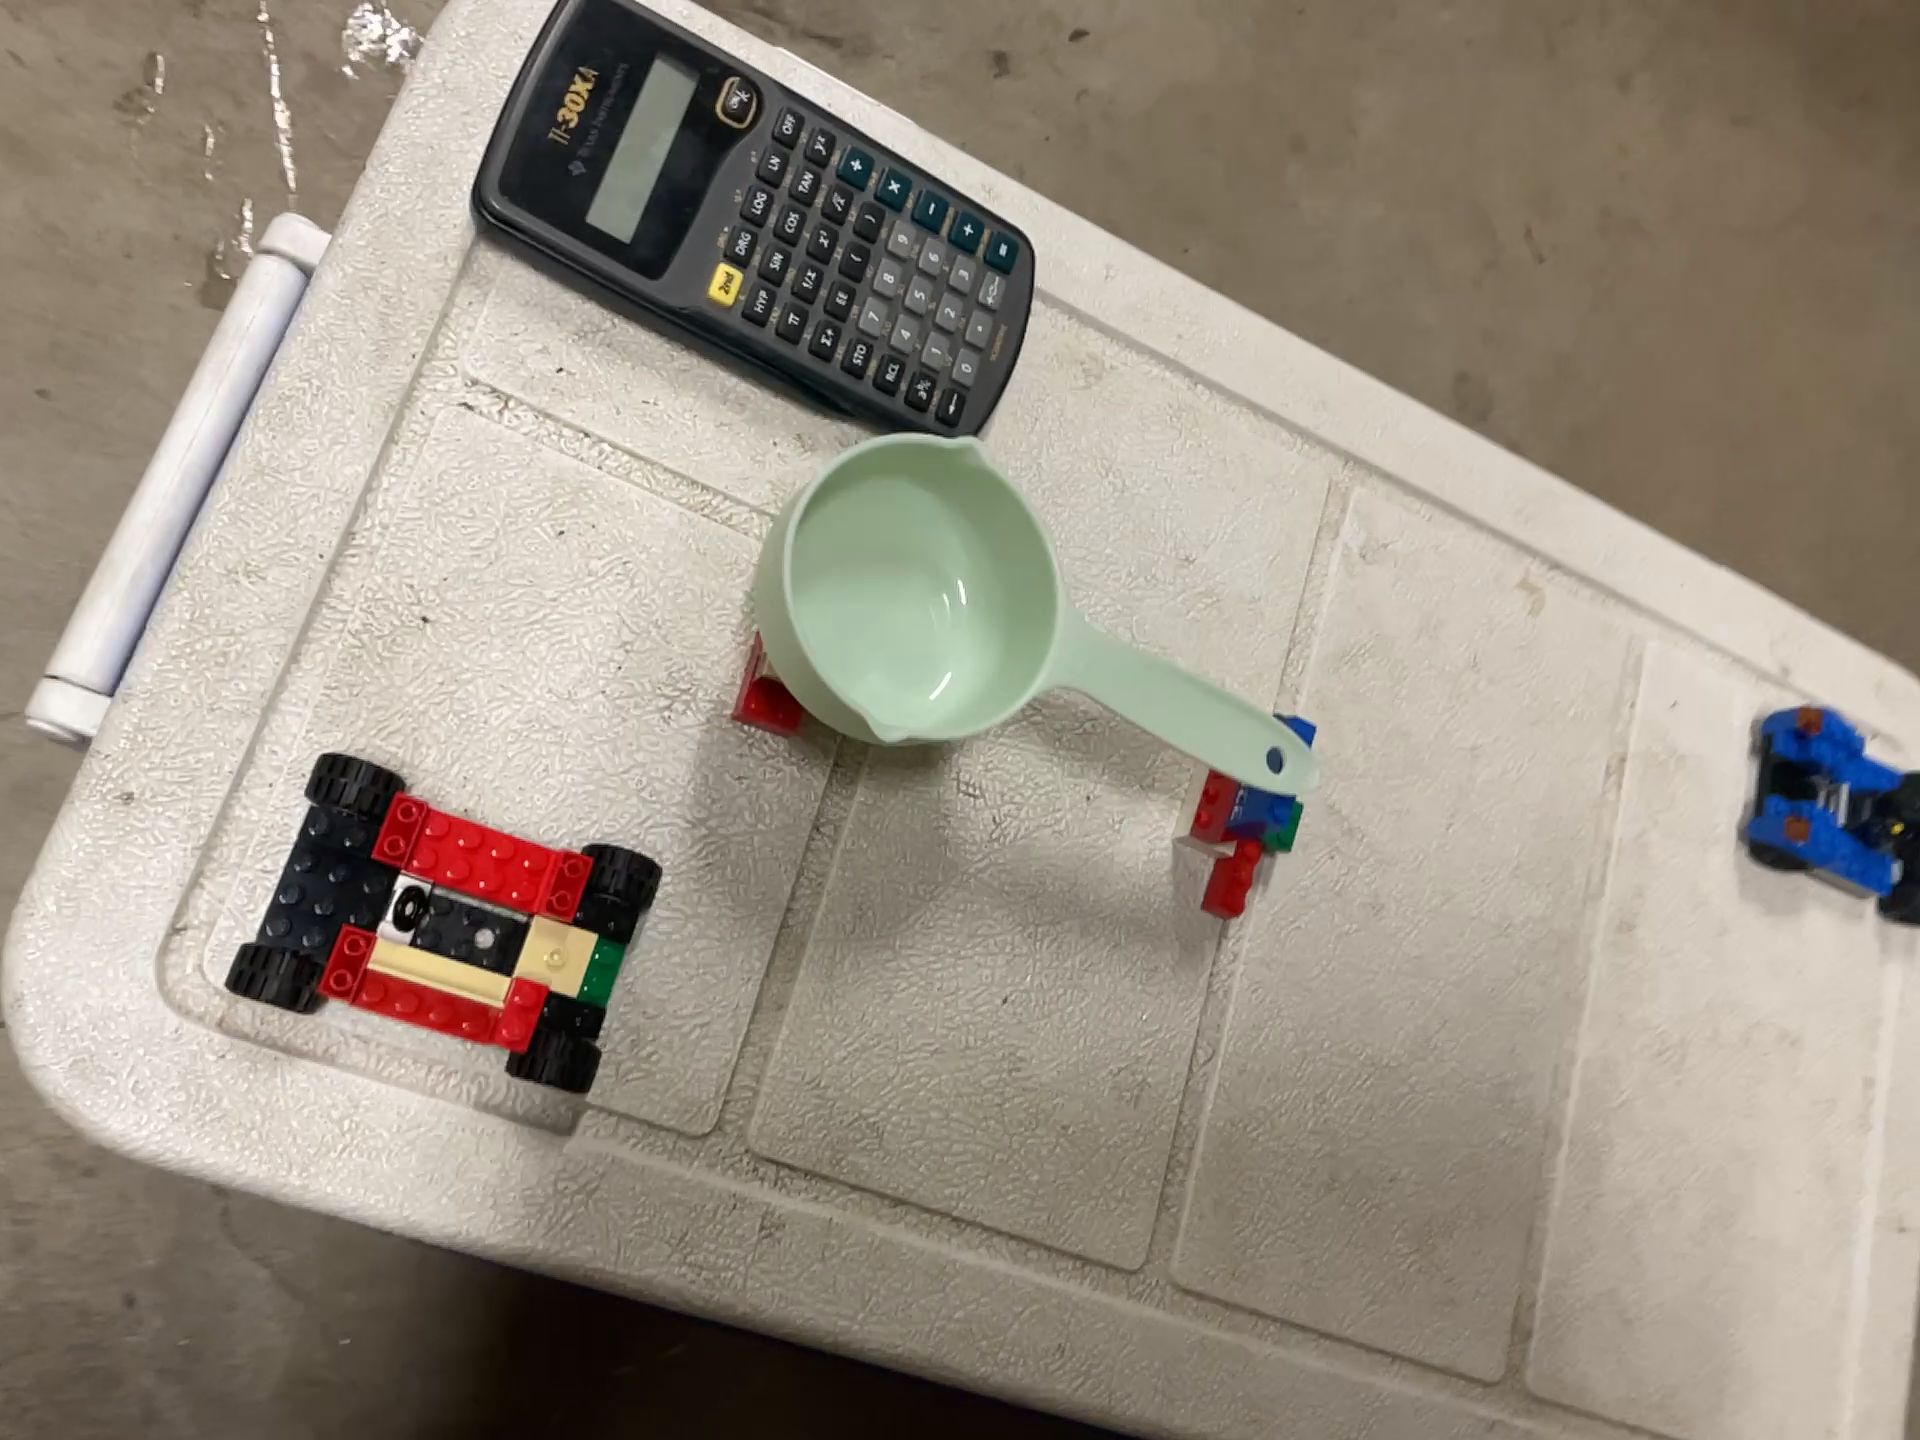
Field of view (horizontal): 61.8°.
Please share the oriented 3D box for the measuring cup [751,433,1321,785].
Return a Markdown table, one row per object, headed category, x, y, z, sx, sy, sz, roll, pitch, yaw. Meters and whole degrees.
| category | x | y | z | sx | sy | sz | roll | pitch | yaw |
| --- | --- | --- | --- | --- | --- | --- | --- | --- | --- |
| measuring cup | 0.022 | -0.014 | 0.421 | 0.167 | 0.038 | 0.083 | 23 | 71 | -25 |
